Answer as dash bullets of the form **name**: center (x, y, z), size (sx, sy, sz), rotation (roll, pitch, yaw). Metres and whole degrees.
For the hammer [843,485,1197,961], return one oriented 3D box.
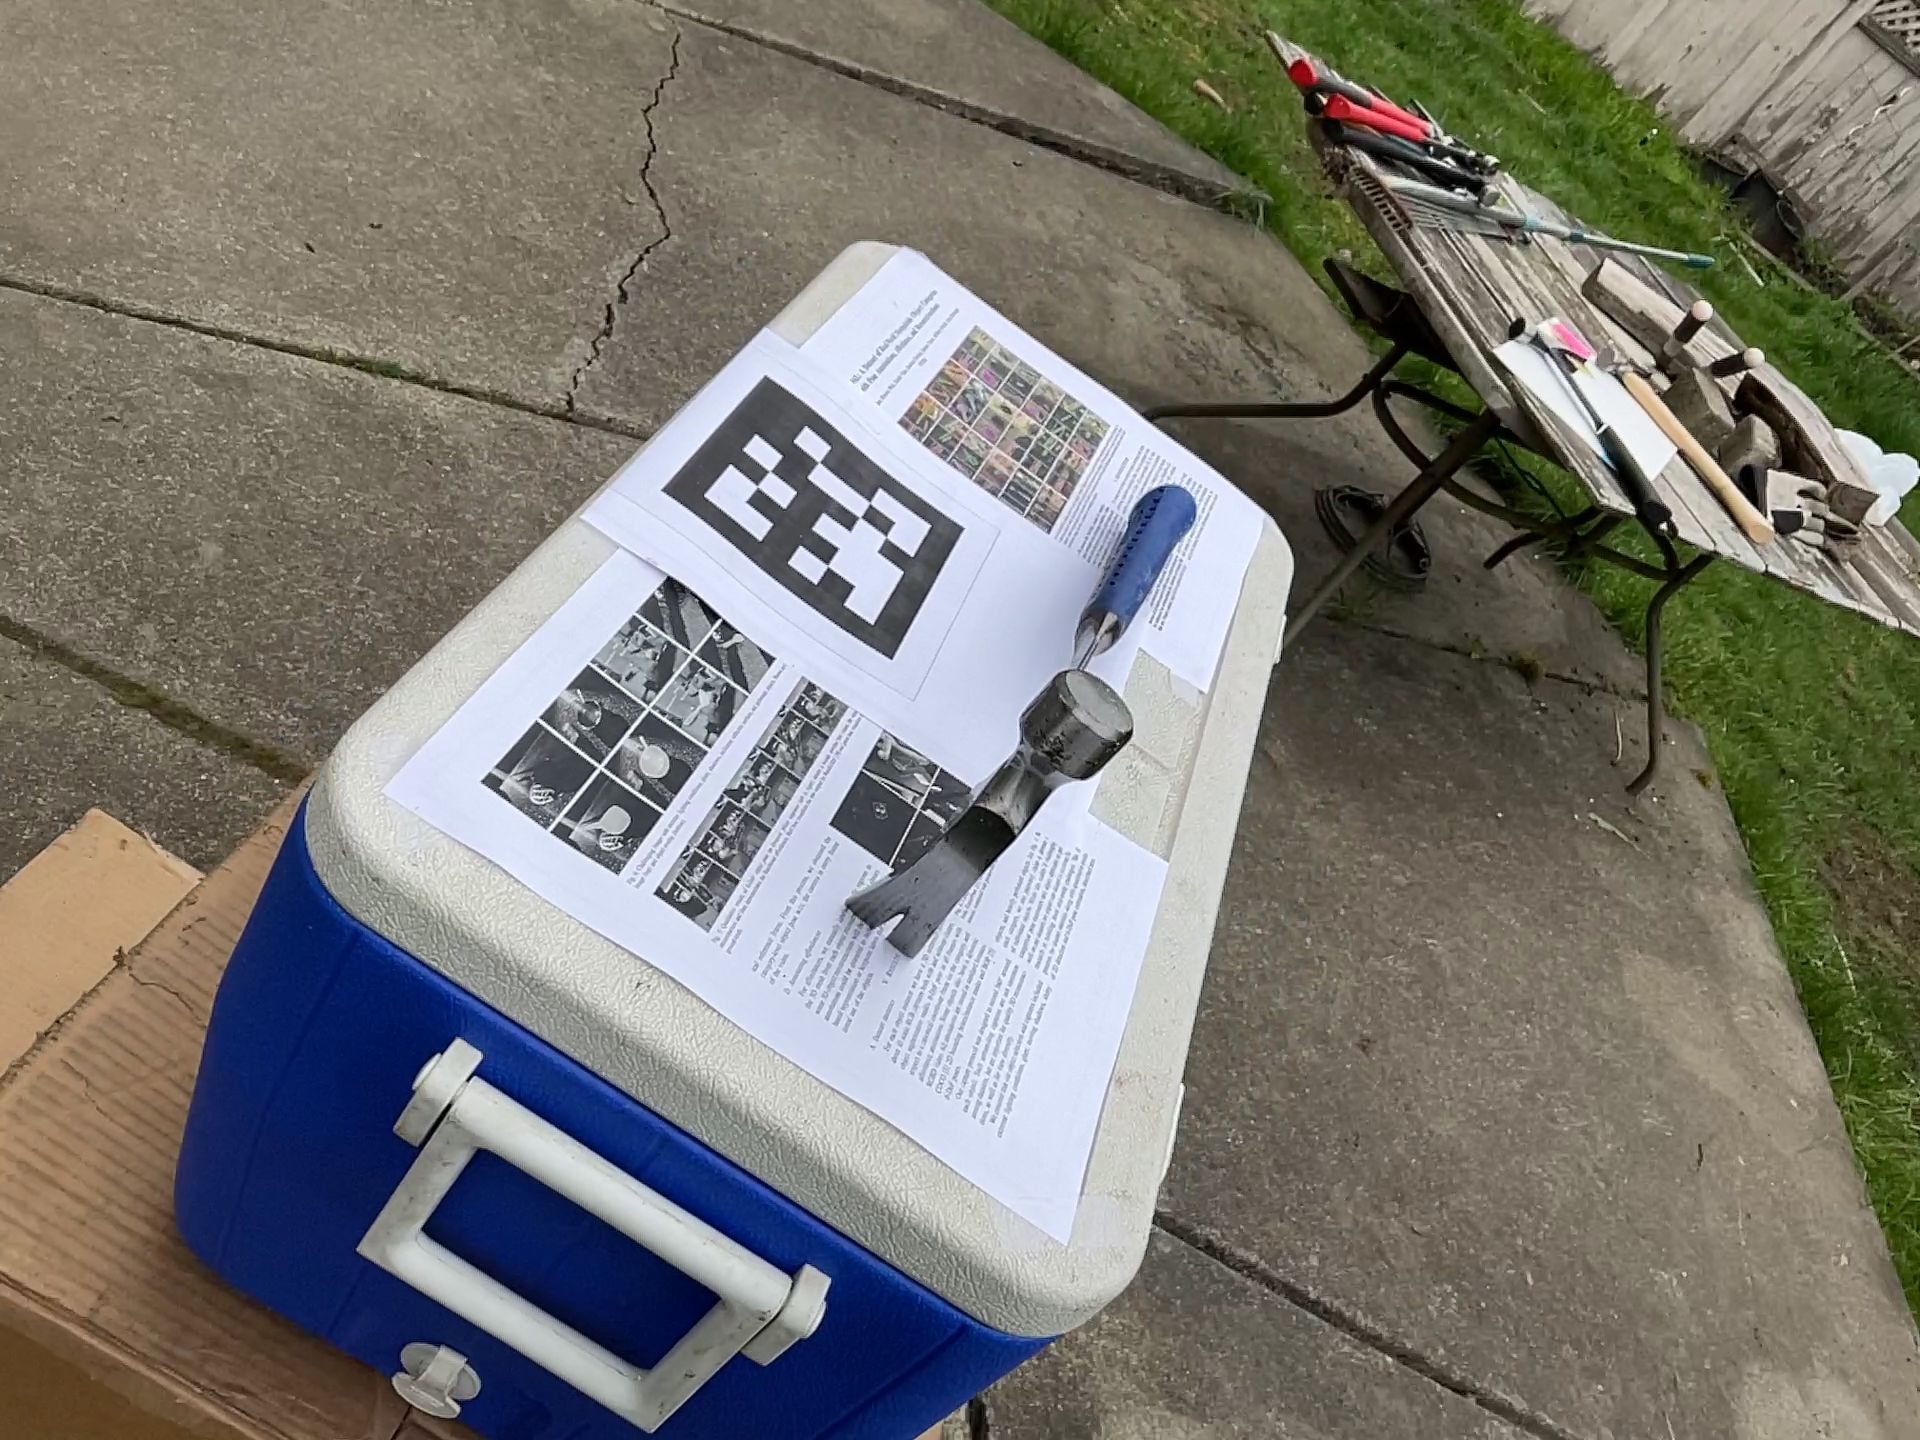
- **hammer**: center (0.056, -0.032, 0.732), size (0.035, 0.144, 0.405), rotation (40, 28, -3)
